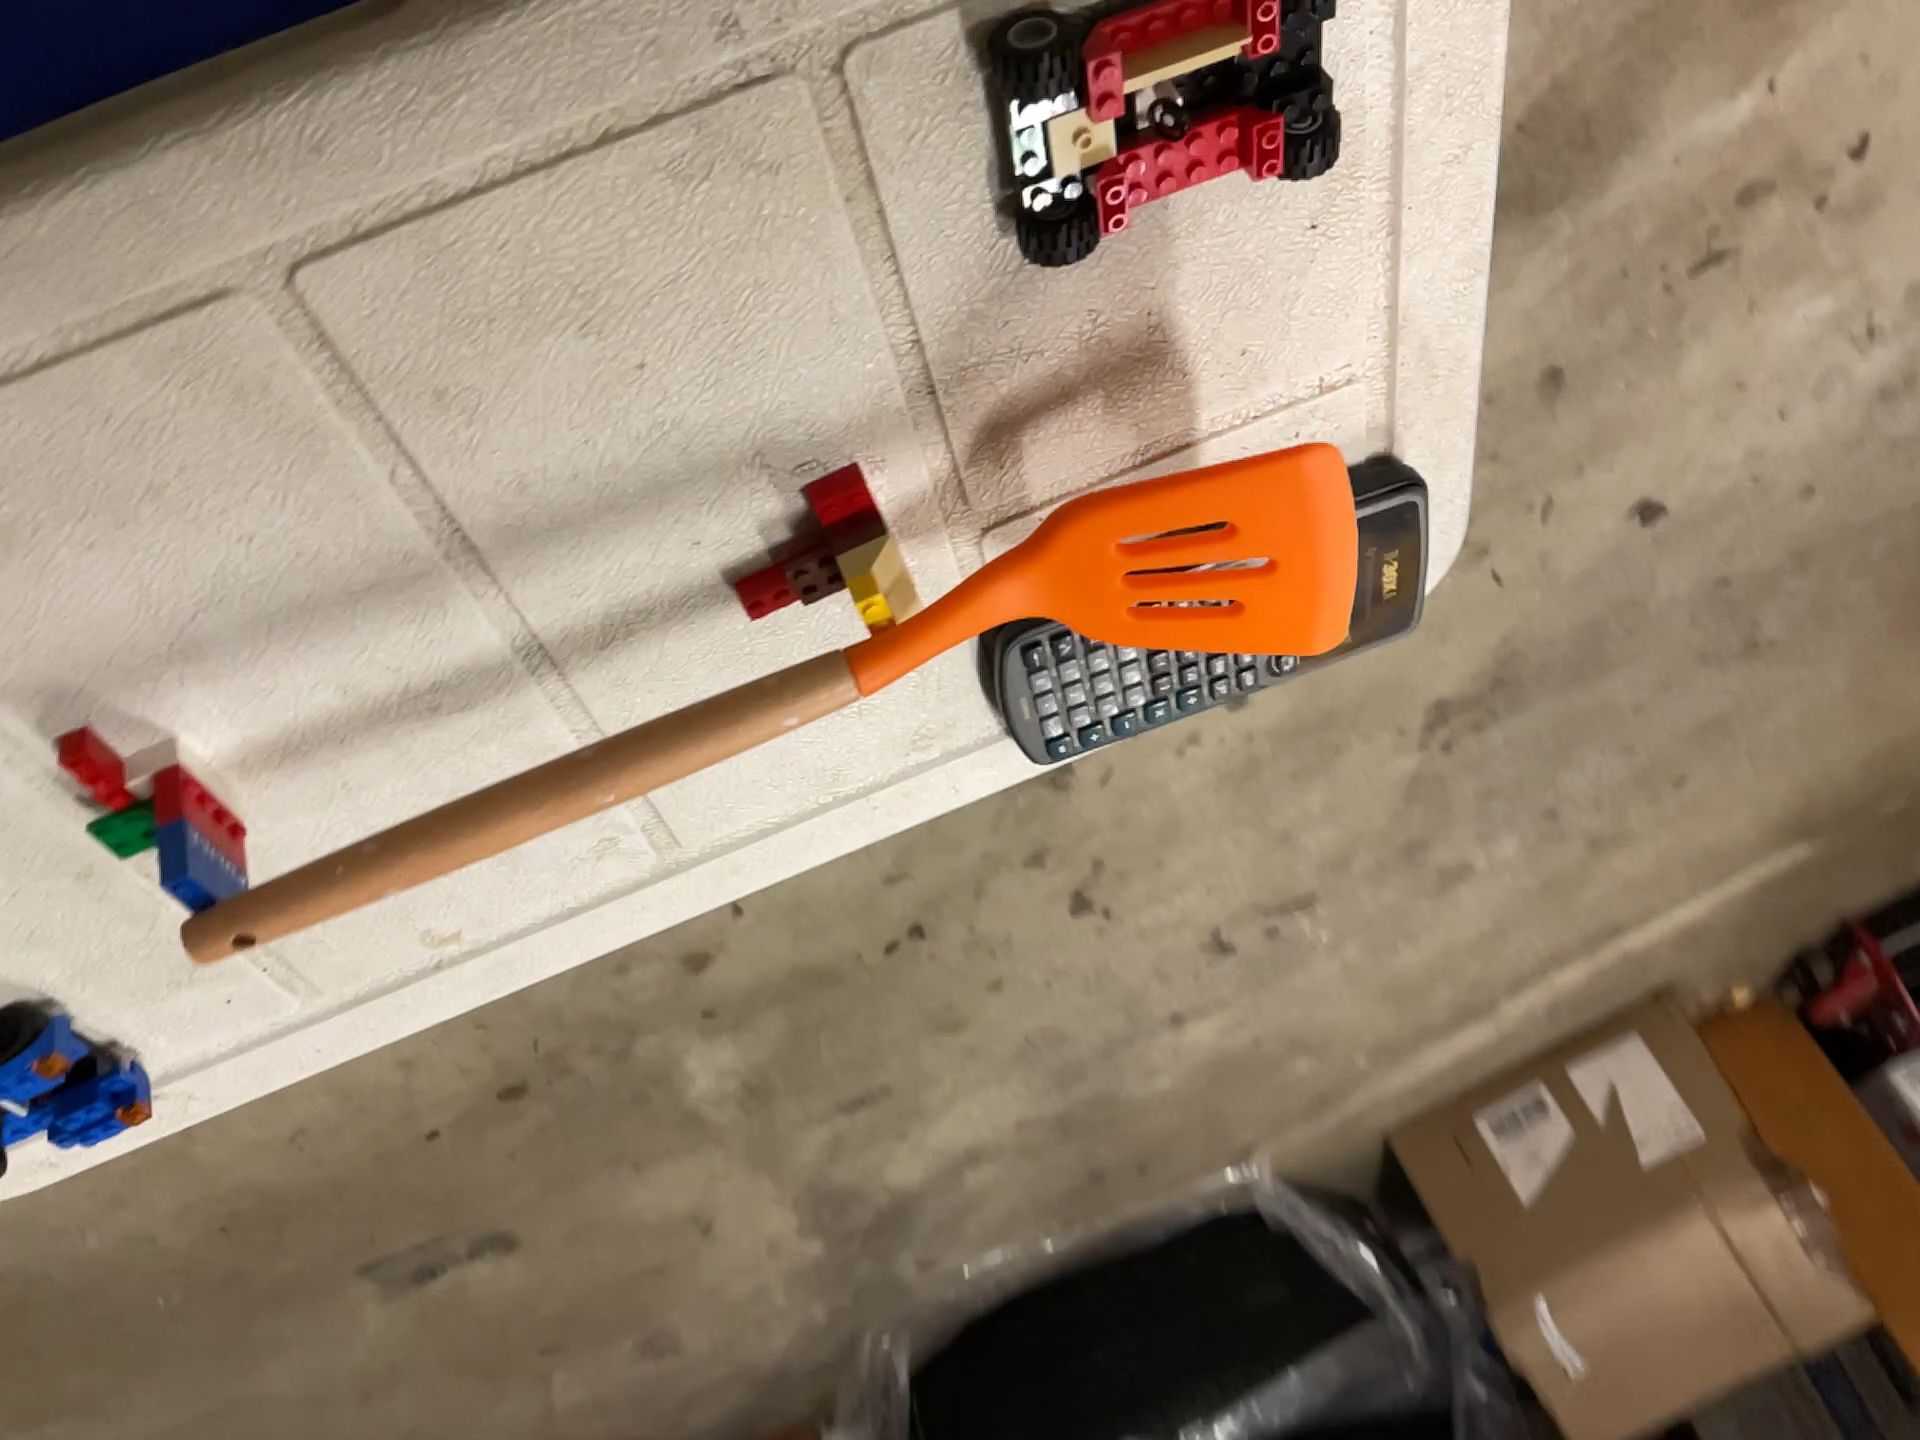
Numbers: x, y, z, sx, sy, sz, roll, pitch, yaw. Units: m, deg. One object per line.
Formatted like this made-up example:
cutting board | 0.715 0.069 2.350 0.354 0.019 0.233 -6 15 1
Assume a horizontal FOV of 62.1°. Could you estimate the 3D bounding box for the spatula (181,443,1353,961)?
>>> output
spatula | -0.050 0.002 0.426 0.322 0.041 0.080 -22 140 -5
